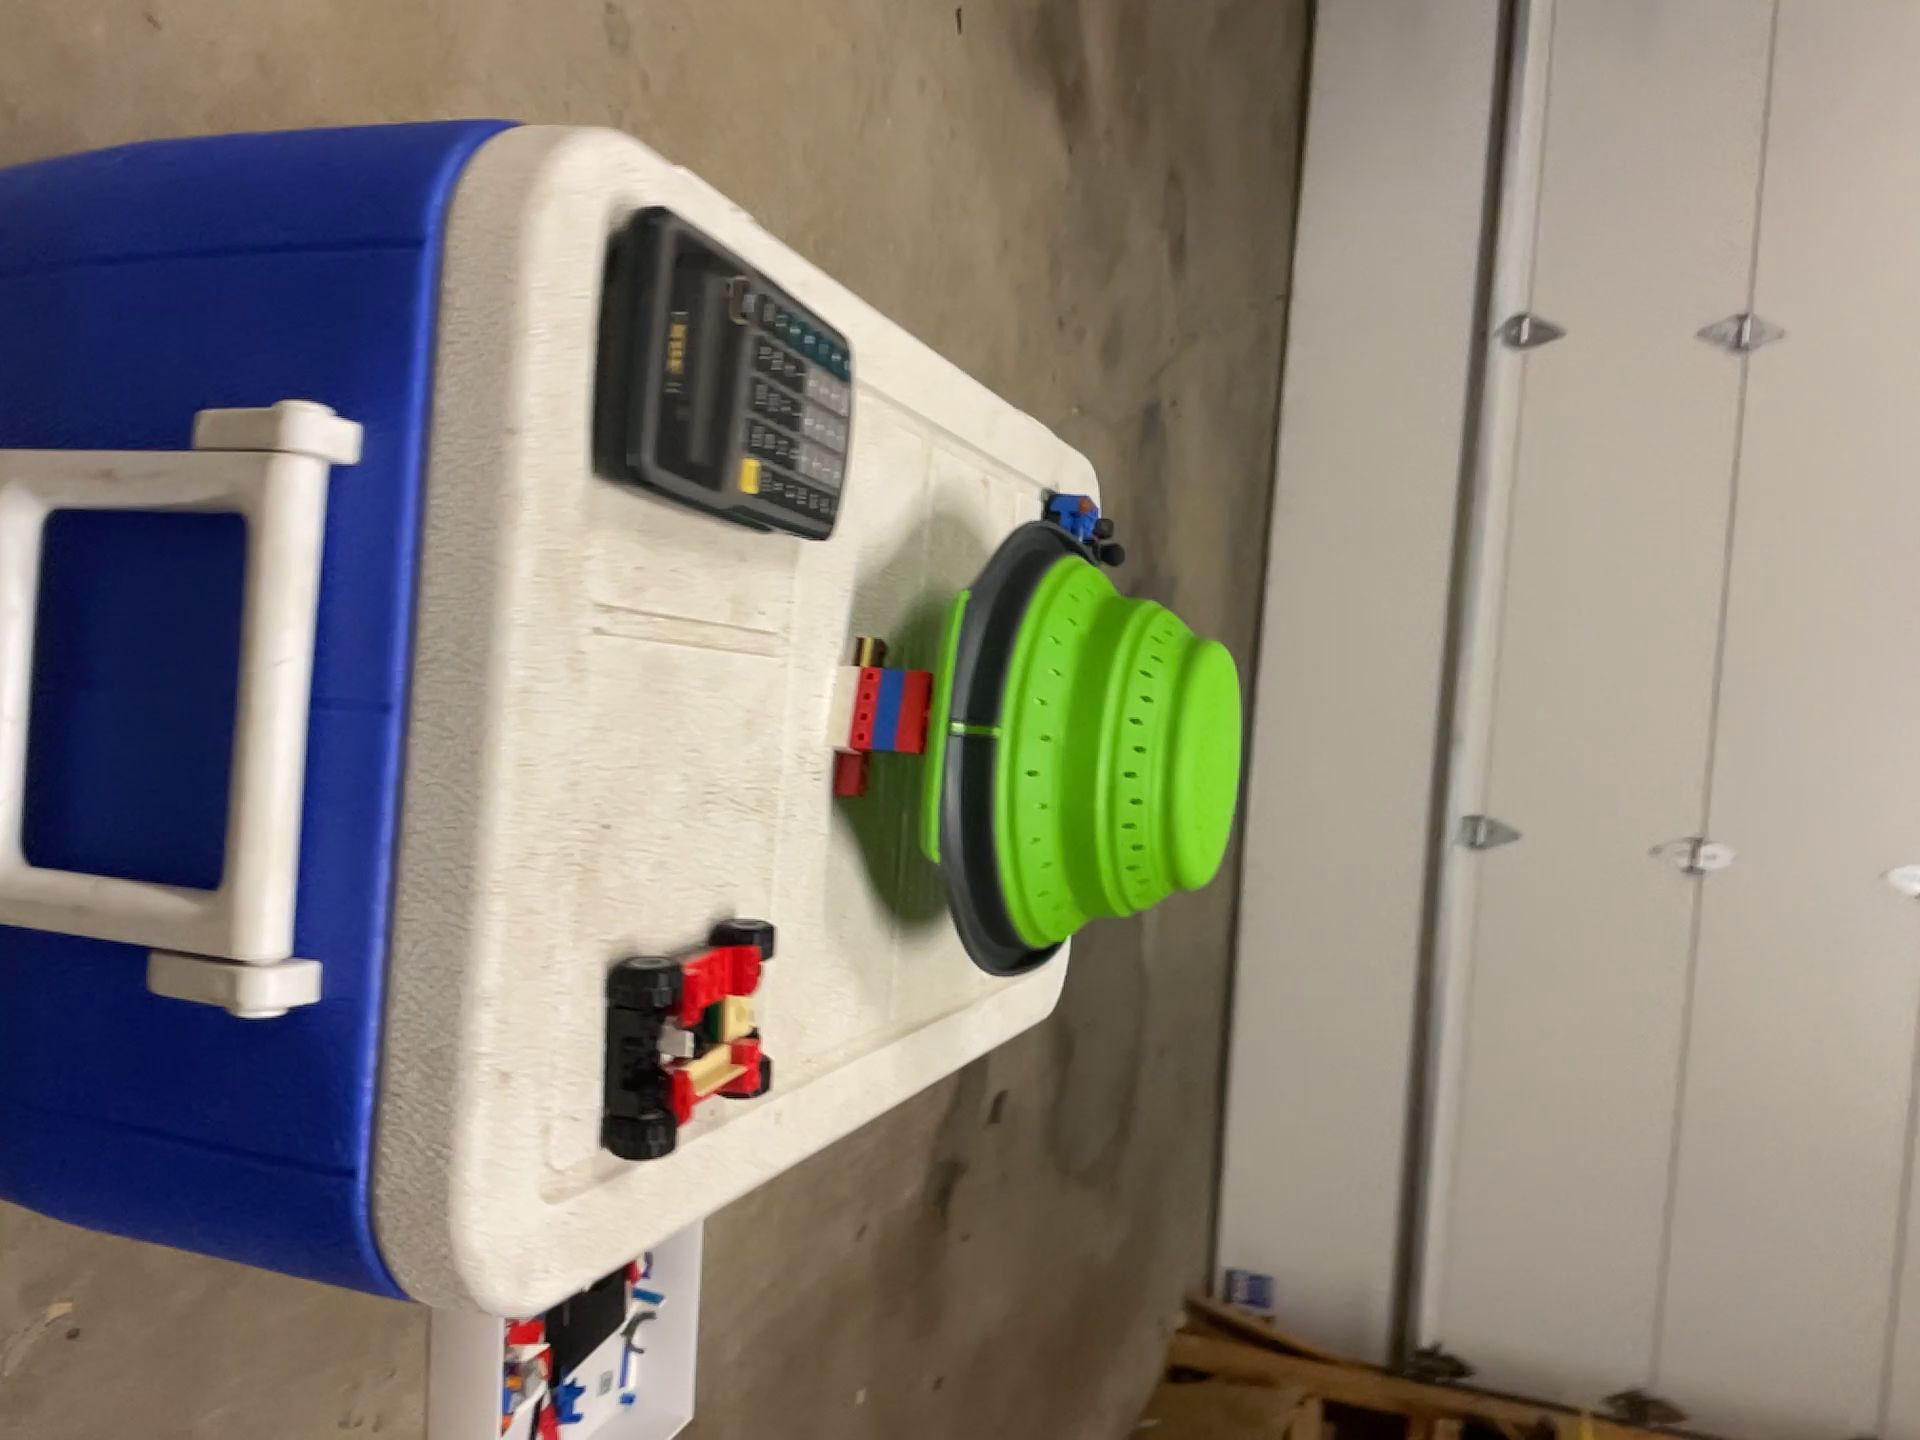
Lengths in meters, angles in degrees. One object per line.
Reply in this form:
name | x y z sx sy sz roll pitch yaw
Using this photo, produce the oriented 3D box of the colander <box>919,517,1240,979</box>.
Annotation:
colander | 0.094 0.024 0.772 0.397 0.094 0.204 18 78 -70
